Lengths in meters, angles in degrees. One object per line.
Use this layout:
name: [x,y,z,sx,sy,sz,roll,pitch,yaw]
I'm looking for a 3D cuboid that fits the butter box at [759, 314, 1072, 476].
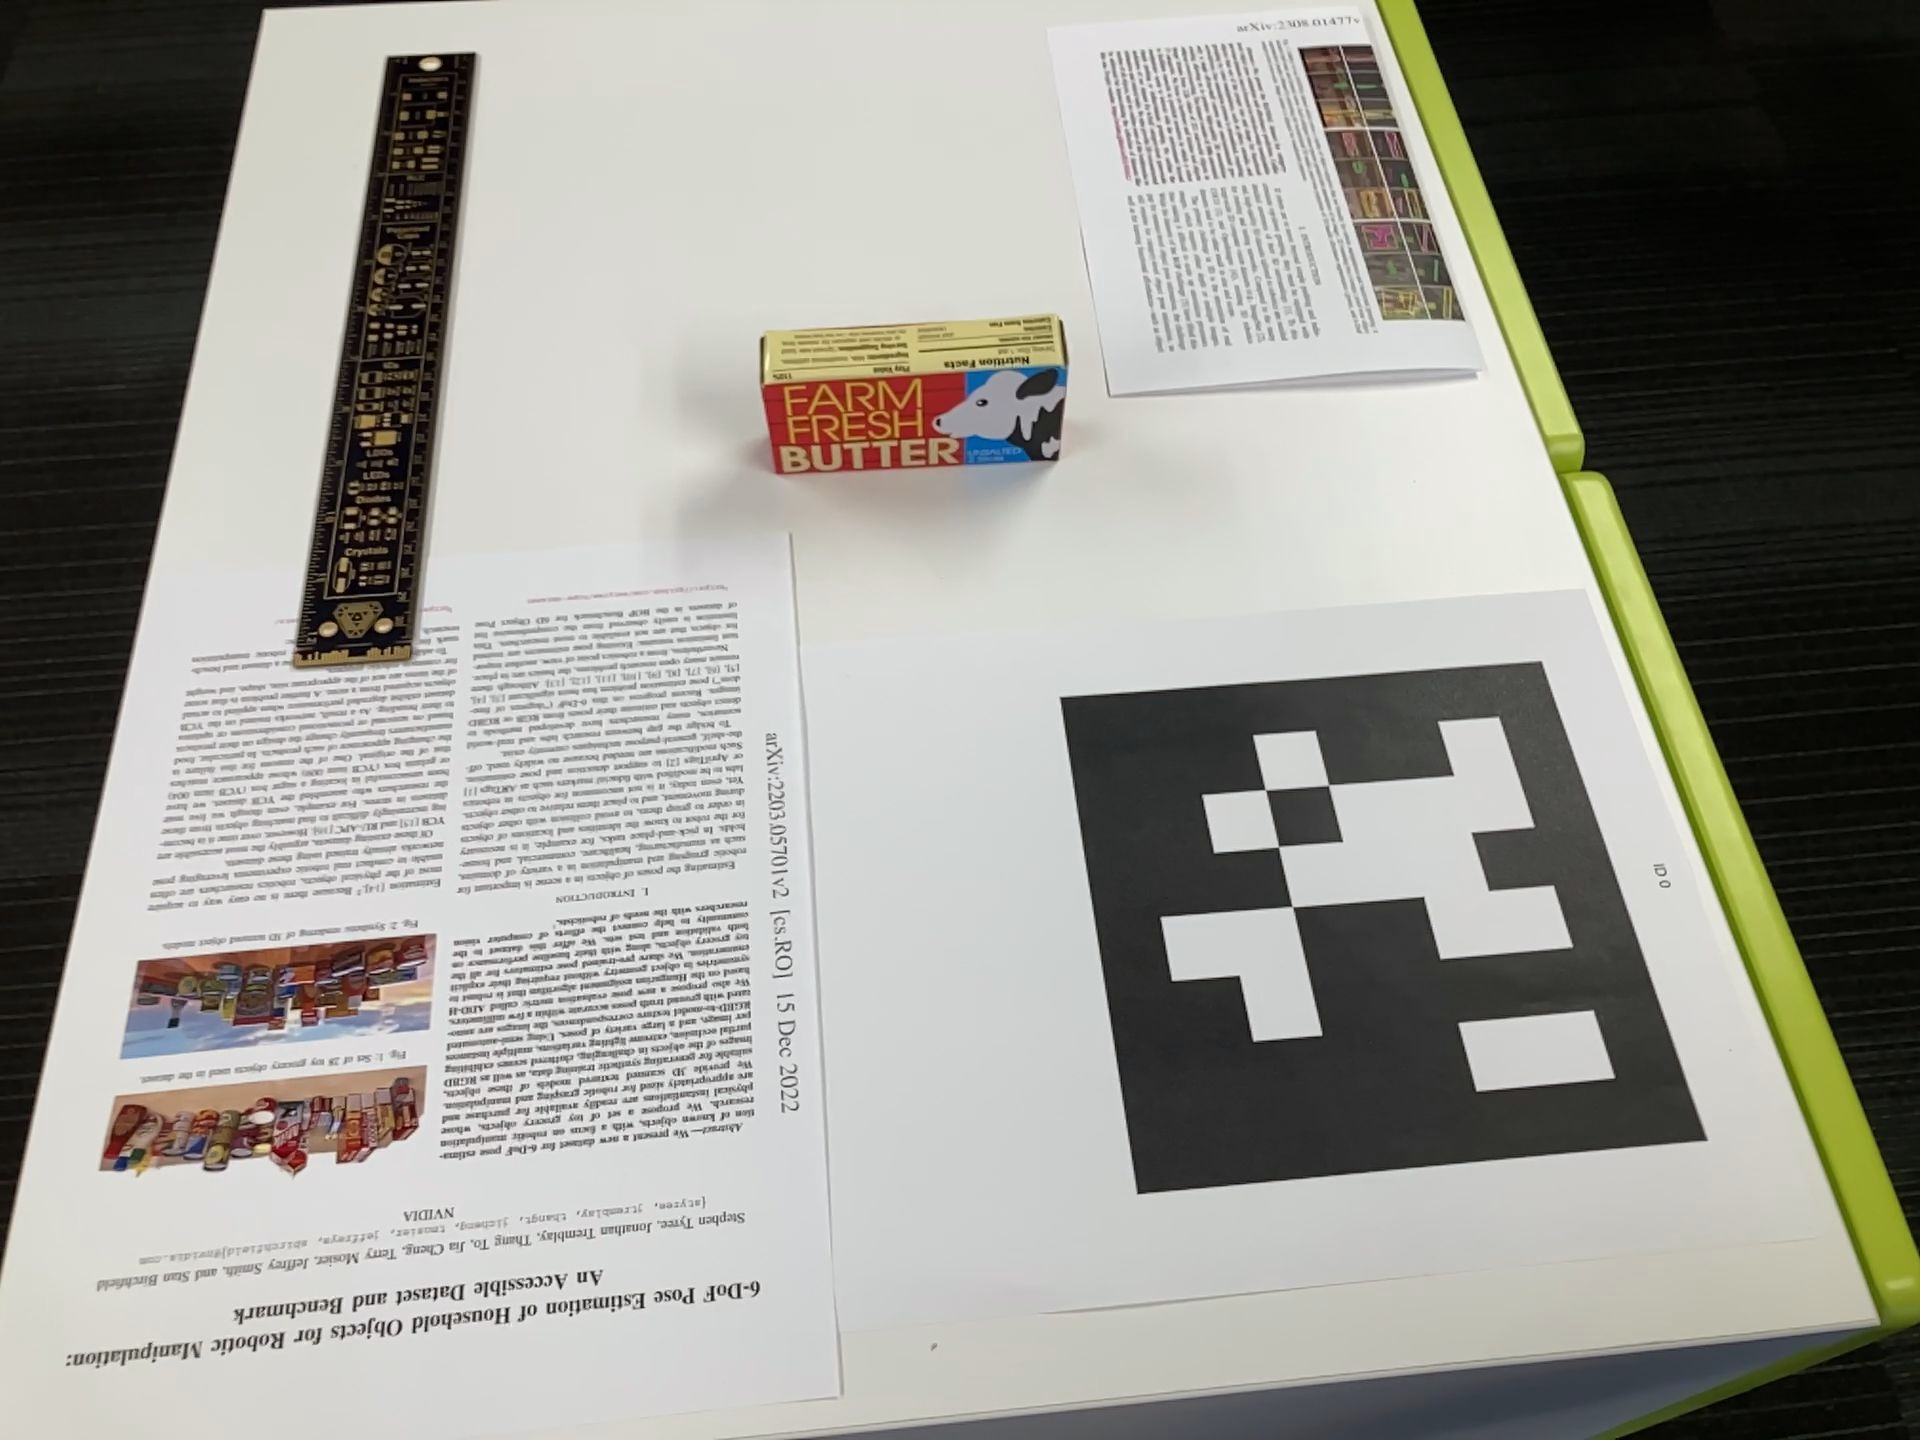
butter box: [-0.016,-0.111,0.546,0.103,0.053,0.024,-4,62,-3]
